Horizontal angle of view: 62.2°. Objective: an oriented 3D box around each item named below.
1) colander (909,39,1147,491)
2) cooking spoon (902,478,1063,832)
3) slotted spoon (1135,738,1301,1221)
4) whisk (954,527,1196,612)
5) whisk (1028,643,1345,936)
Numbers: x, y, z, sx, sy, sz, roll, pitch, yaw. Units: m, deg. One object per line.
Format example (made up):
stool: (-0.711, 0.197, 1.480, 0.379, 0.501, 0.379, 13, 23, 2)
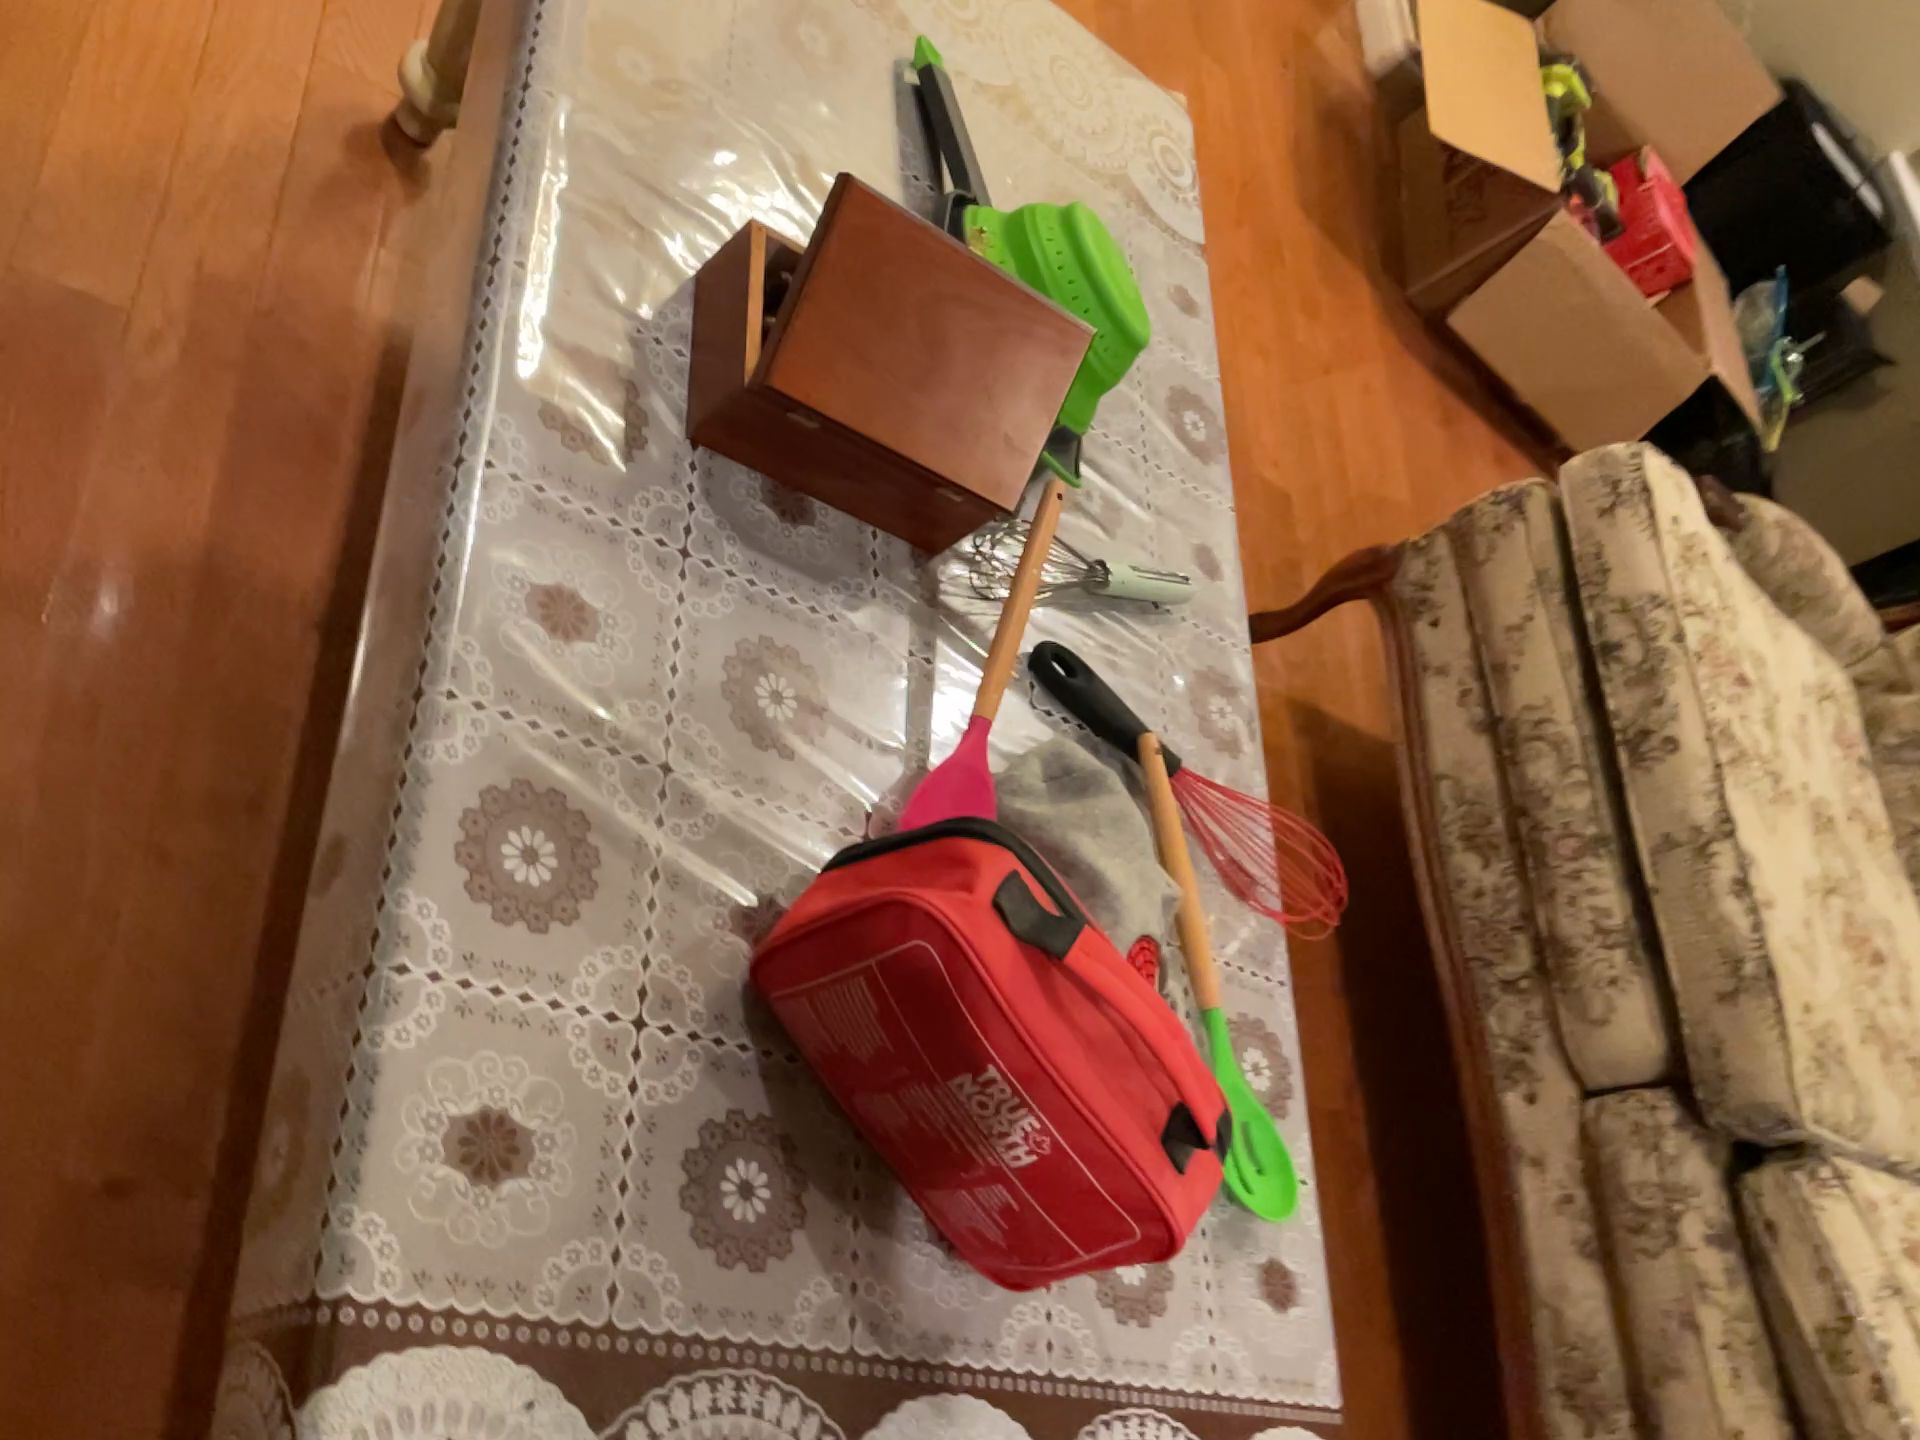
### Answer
colander: (0.047, -0.358, 1.134, 0.204, 0.094, 0.397, 30, 39, -57)
cooking spoon: (0.020, -0.019, 0.965, 0.068, 0.017, 0.319, 34, 59, -30)
slotted spoon: (0.156, 0.162, 1.021, 0.070, 0.031, 0.314, 1, 71, -45)
whisk: (0.088, -0.099, 1.109, 0.246, 0.059, 0.057, 1, 110, -47)
whisk: (0.157, 0.048, 1.083, 0.295, 0.073, 0.073, 41, 51, -13)
